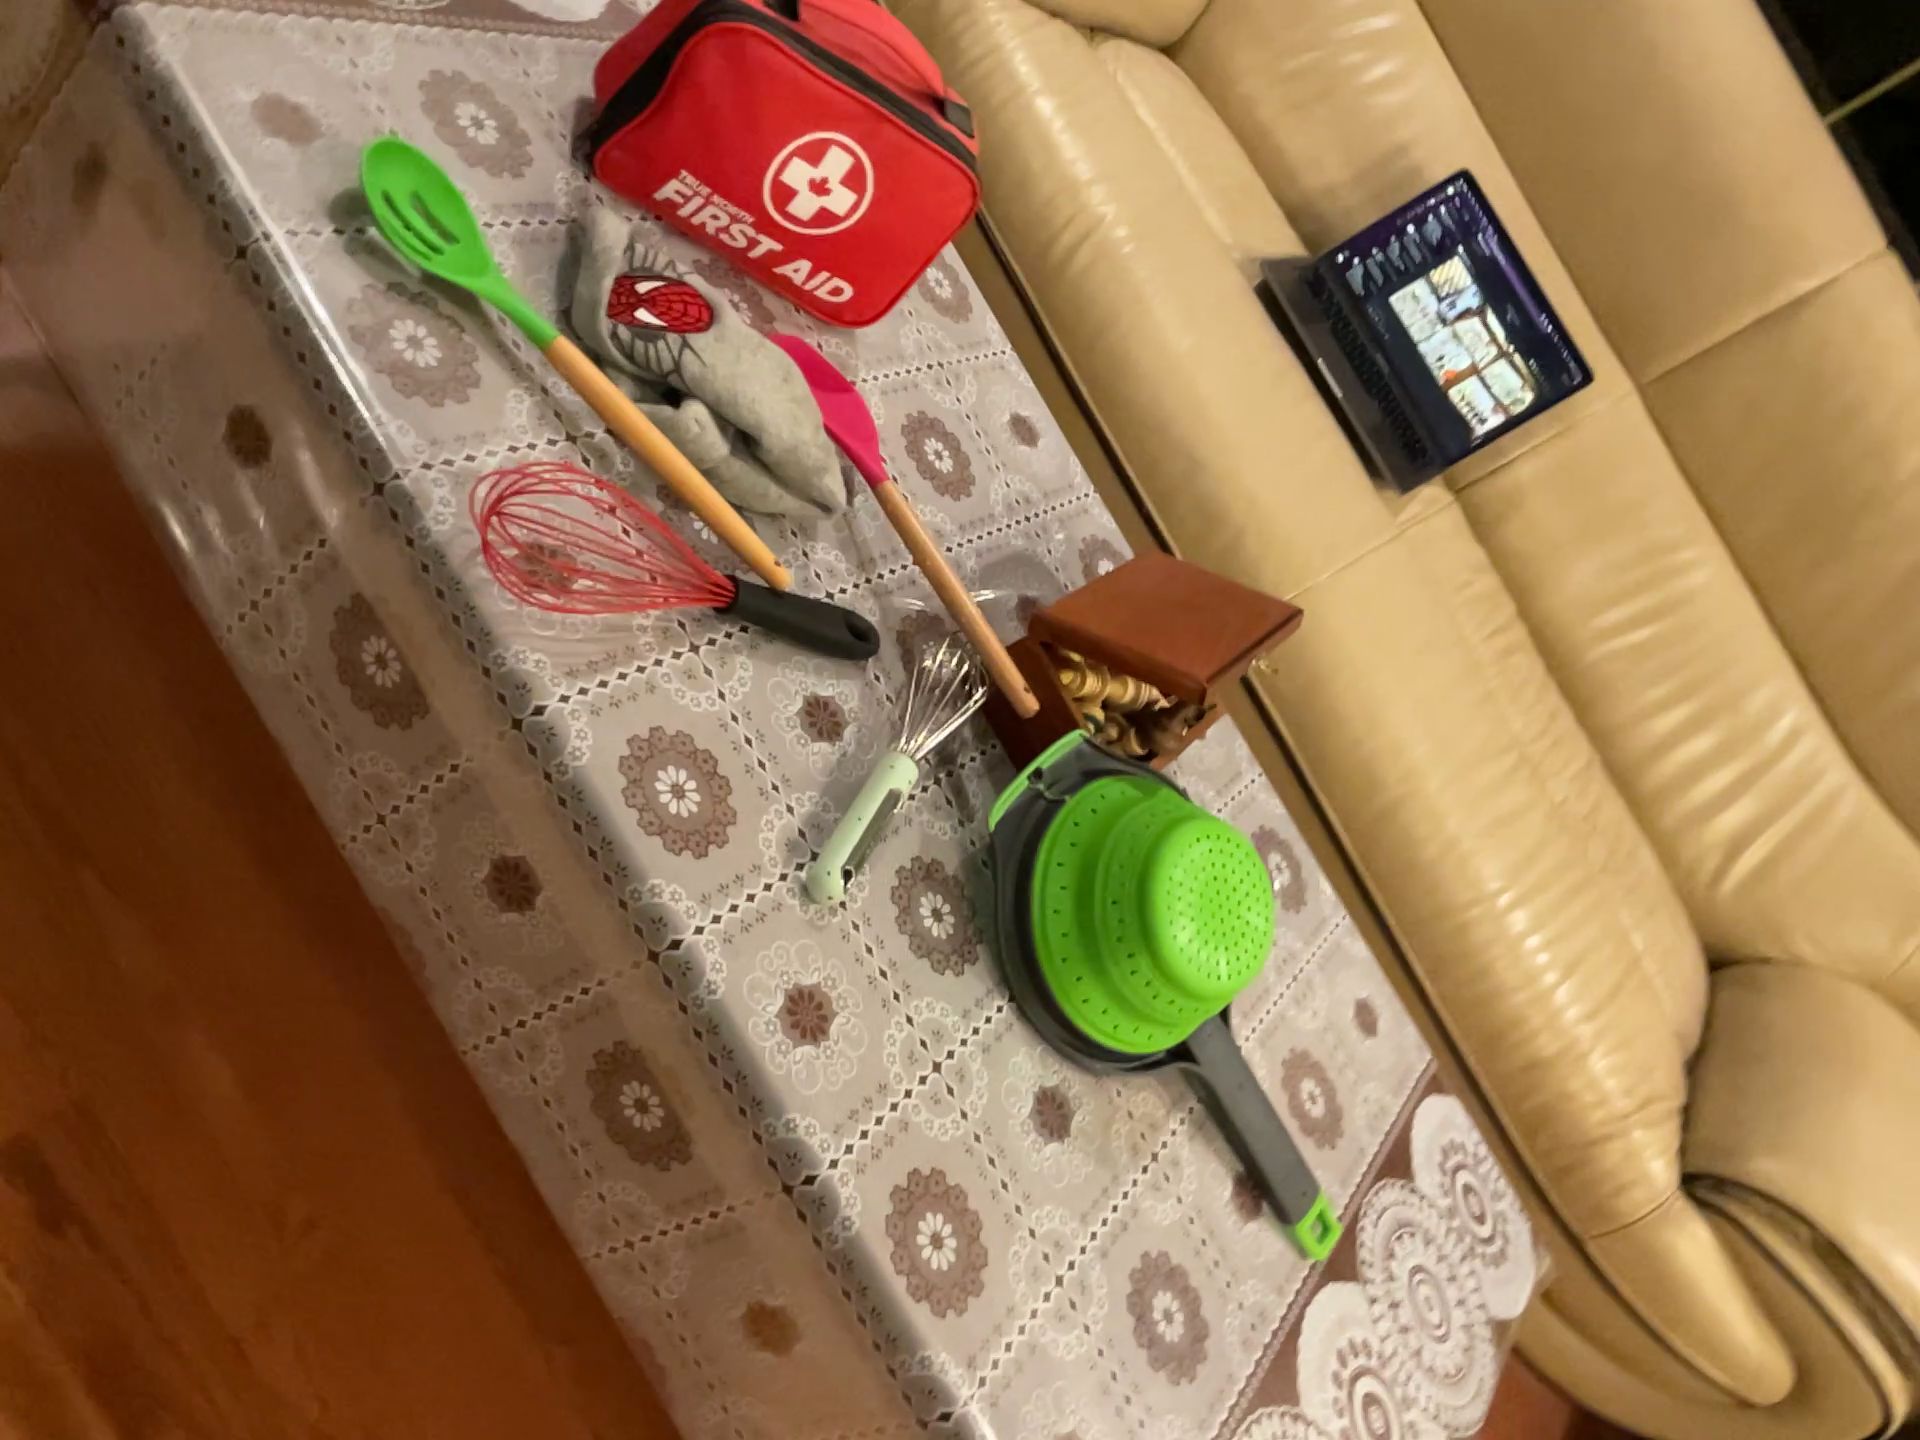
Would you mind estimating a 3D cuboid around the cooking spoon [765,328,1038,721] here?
[{"bbox_3d":[-0.038,-0.132,1.028,0.068,0.017,0.319,-11,64,-52],"label":"cooking spoon"}]

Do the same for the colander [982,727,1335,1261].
[{"bbox_3d":[0.165,0.186,0.999,0.204,0.094,0.397,-41,107,-35],"label":"colander"}]

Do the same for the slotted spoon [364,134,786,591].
[{"bbox_3d":[-0.208,-0.188,0.877,0.313,0.031,0.070,47,37,-14],"label":"slotted spoon"}]

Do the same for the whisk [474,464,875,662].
[{"bbox_3d":[-0.143,-0.075,0.876,0.295,0.073,0.073,18,46,-52],"label":"whisk"}]

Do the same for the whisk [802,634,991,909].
[{"bbox_3d":[-0.038,0.027,0.948,0.058,0.059,0.246,17,40,11],"label":"whisk"}]
